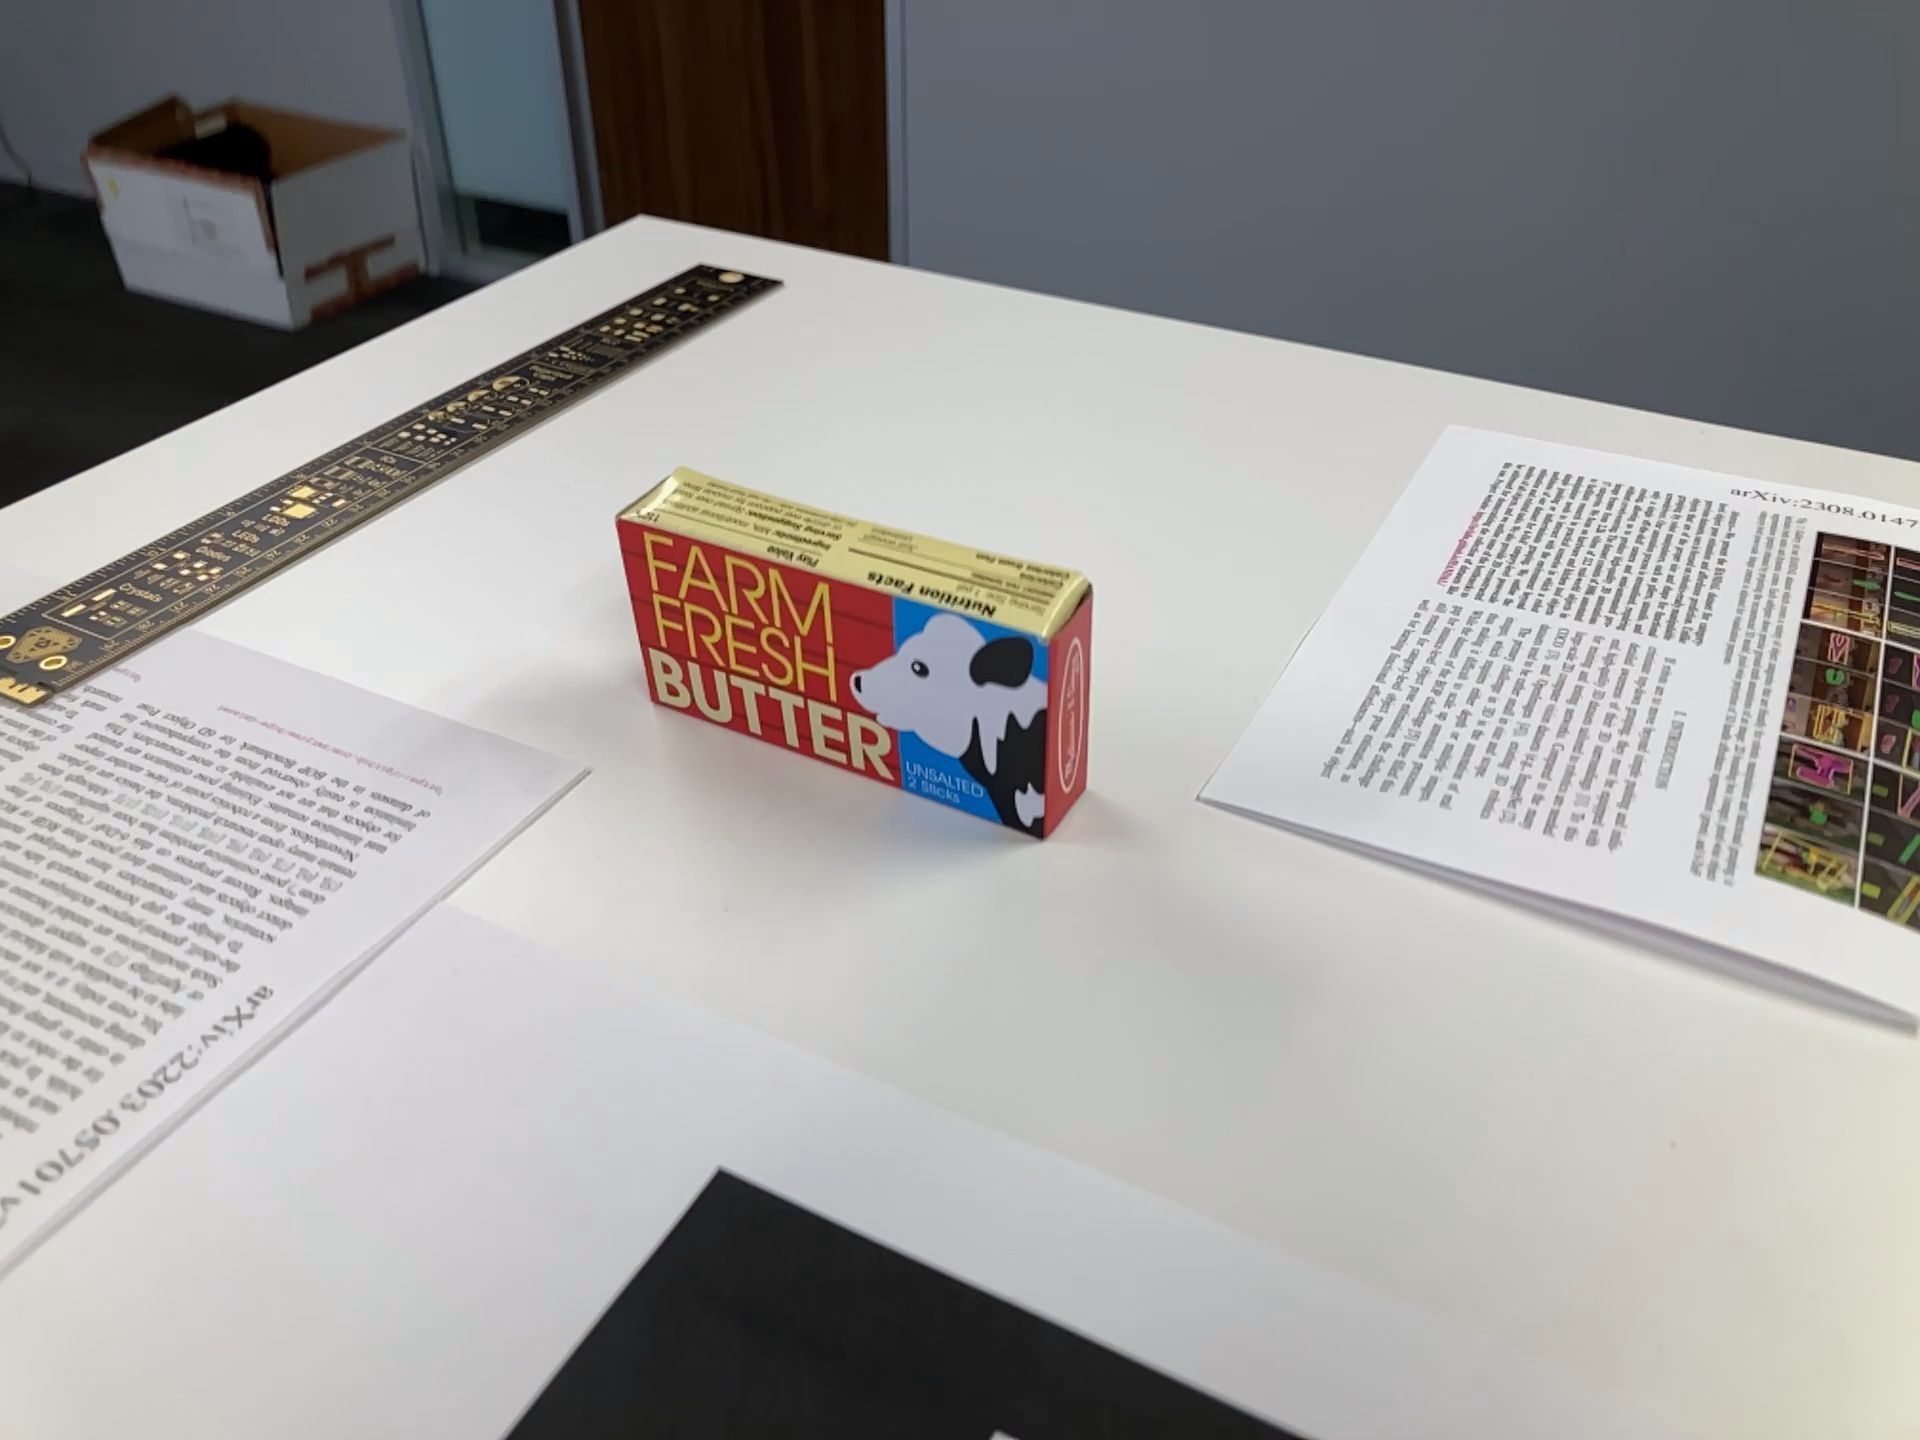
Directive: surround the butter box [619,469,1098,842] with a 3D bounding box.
[{"bbox_3d":[-0.022,-0.015,0.336,0.103,0.053,0.024,17,41,22],"label":"butter box"}]
